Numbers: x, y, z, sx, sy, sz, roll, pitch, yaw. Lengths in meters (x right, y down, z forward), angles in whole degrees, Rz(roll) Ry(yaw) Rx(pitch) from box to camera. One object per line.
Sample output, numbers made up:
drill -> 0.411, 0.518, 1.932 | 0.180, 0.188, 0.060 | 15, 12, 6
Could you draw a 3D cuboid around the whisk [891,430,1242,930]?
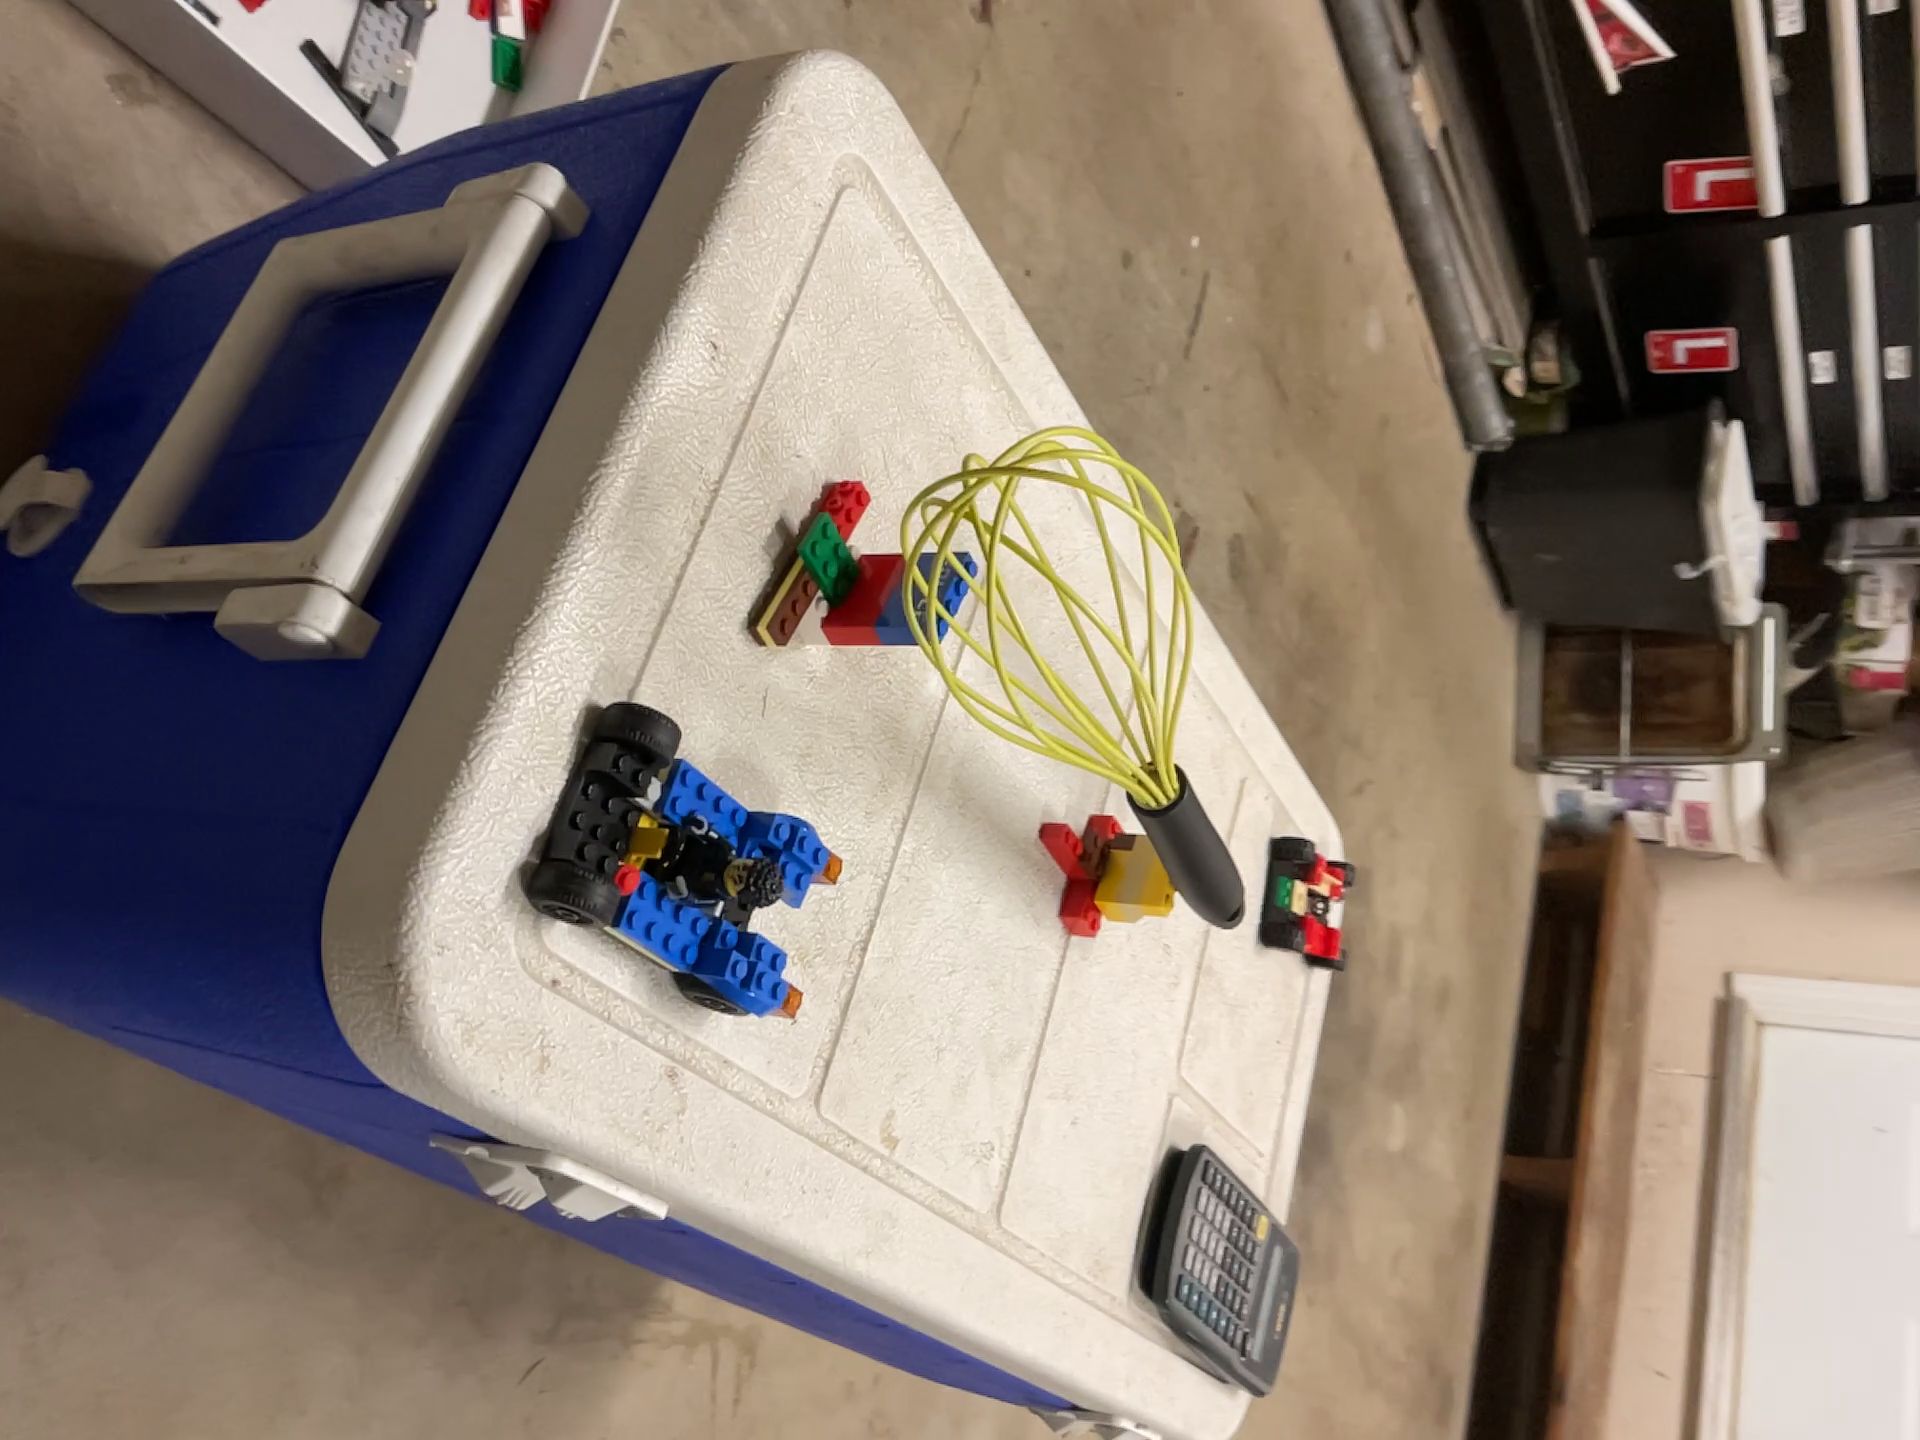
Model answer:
whisk -> 0.055, 0.008, 0.517 | 0.080, 0.067, 0.311 | -34, 145, 2
